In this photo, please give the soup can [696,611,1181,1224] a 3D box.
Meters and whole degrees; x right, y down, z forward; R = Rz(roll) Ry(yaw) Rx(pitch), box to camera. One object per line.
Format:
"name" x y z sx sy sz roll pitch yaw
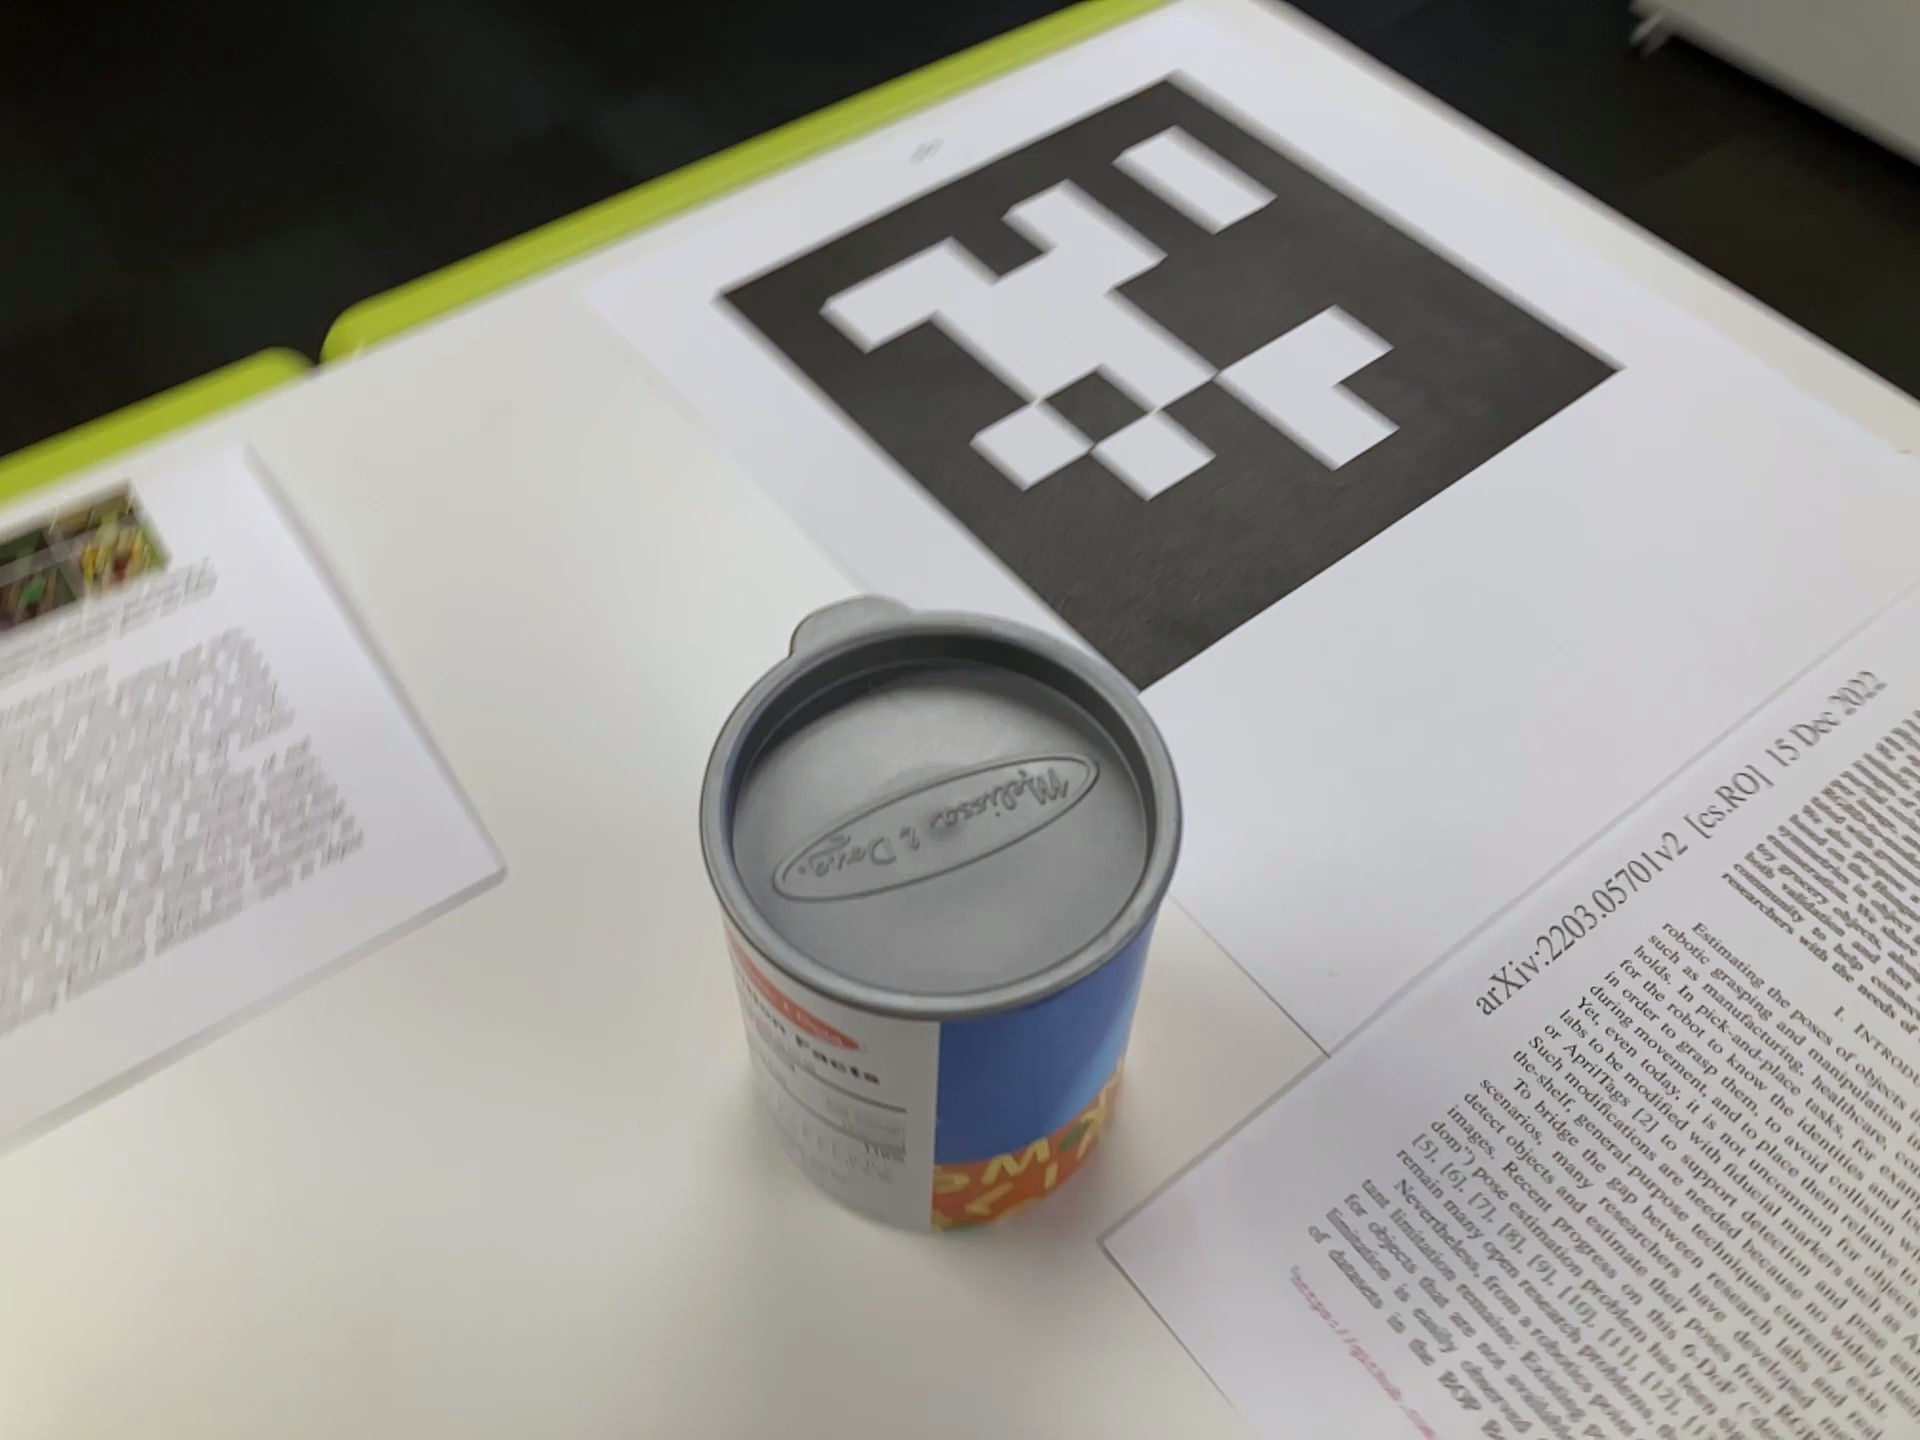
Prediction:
"soup can" -0.001 0.033 0.253 0.071 0.084 0.071 0 55 -1
